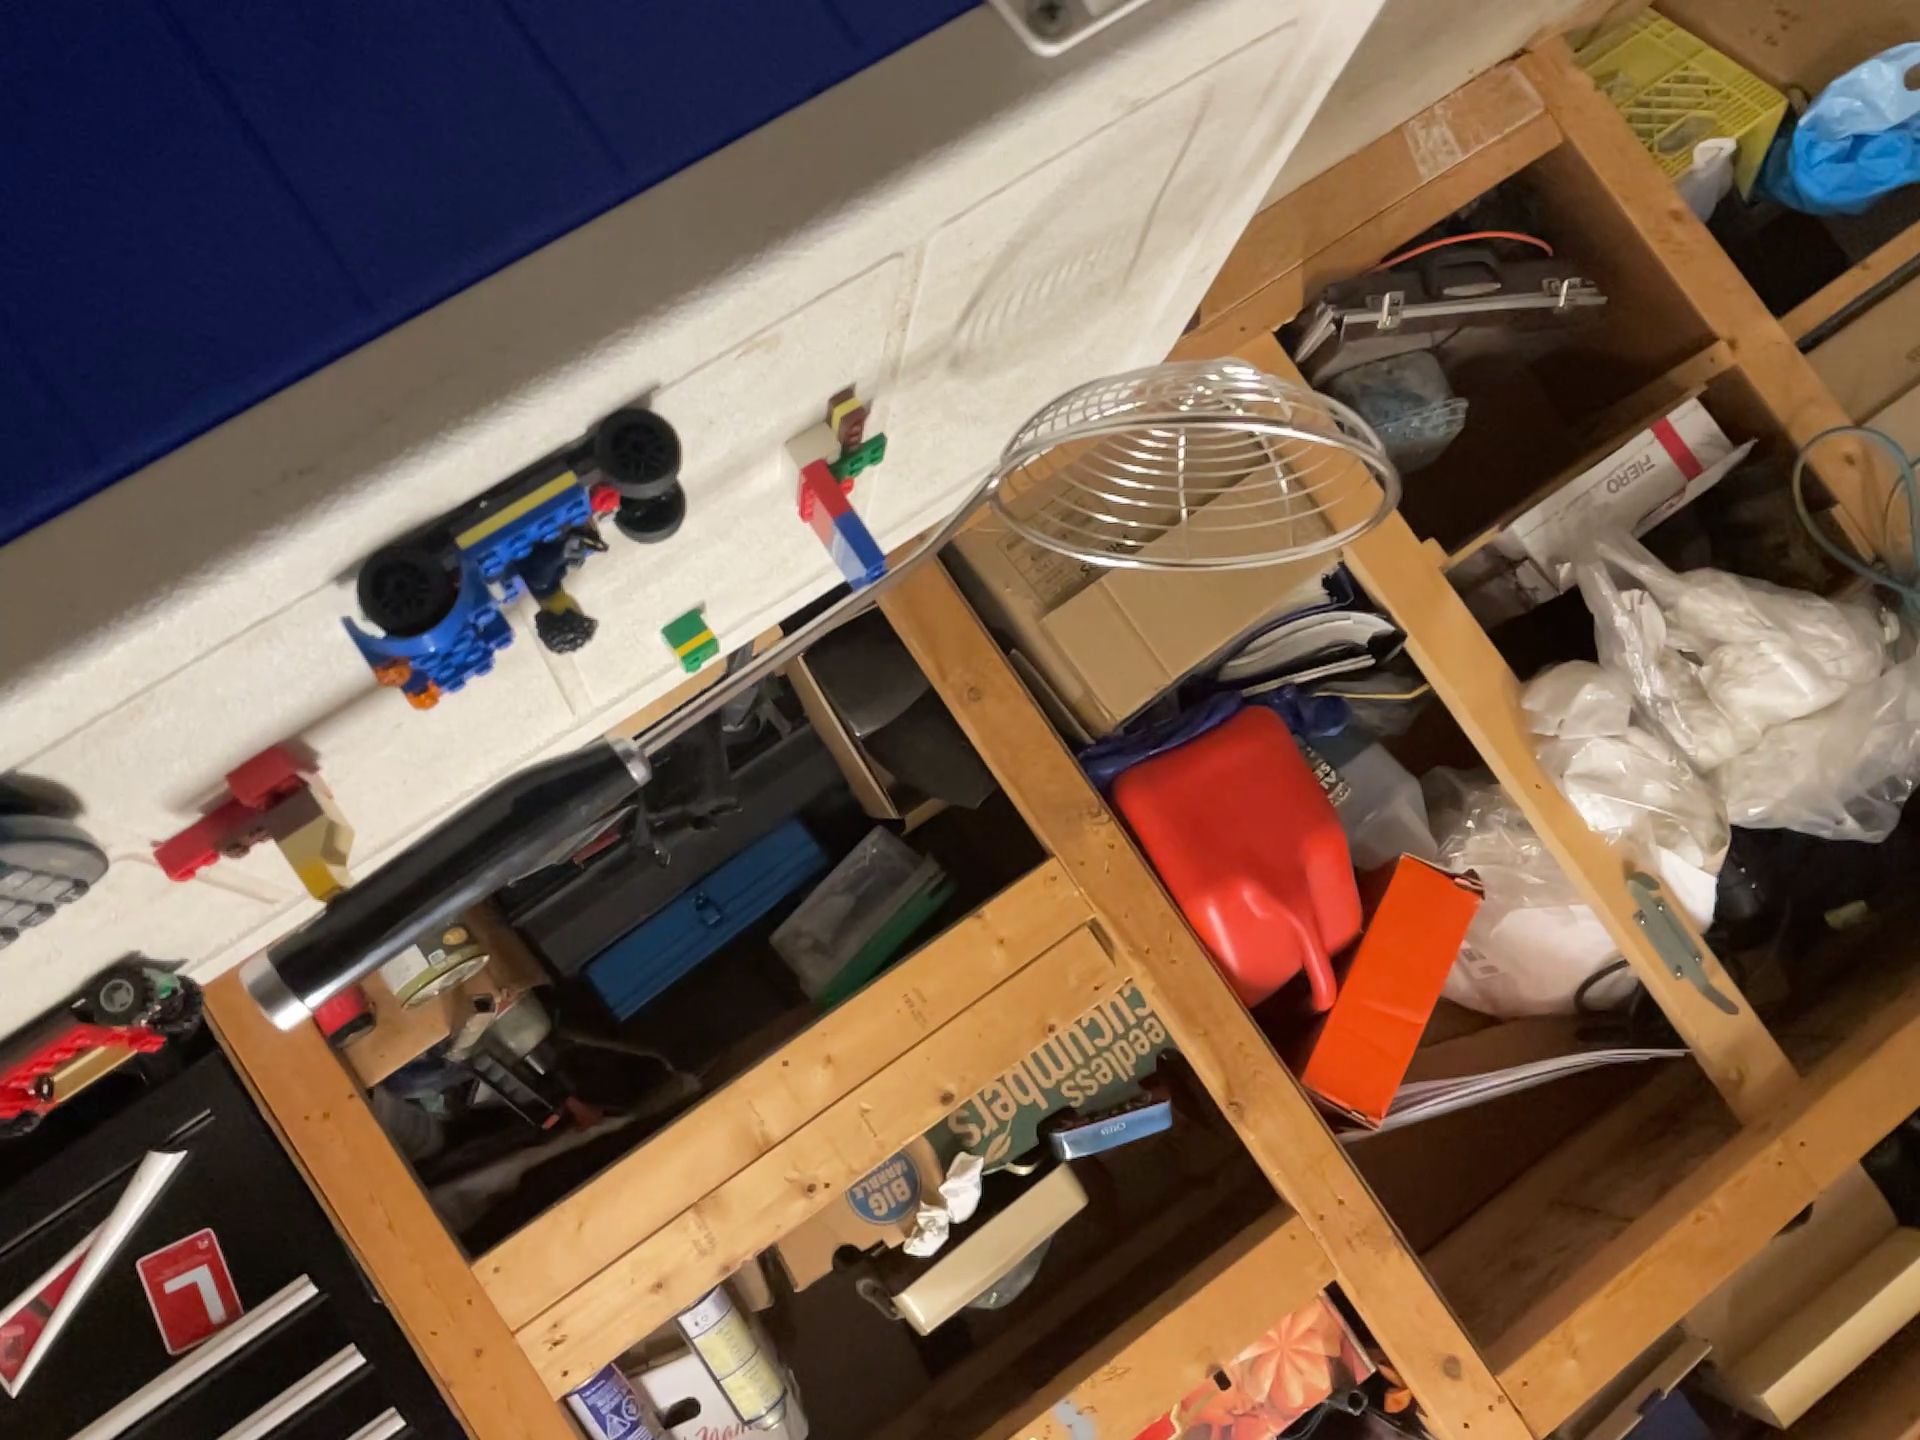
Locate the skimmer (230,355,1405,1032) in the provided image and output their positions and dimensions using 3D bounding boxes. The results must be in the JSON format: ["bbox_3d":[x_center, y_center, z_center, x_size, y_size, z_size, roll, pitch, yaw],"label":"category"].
[{"bbox_3d":[-0.033,0.000,0.474,0.363,0.090,0.127,-35,173,-12],"label":"skimmer"}]
